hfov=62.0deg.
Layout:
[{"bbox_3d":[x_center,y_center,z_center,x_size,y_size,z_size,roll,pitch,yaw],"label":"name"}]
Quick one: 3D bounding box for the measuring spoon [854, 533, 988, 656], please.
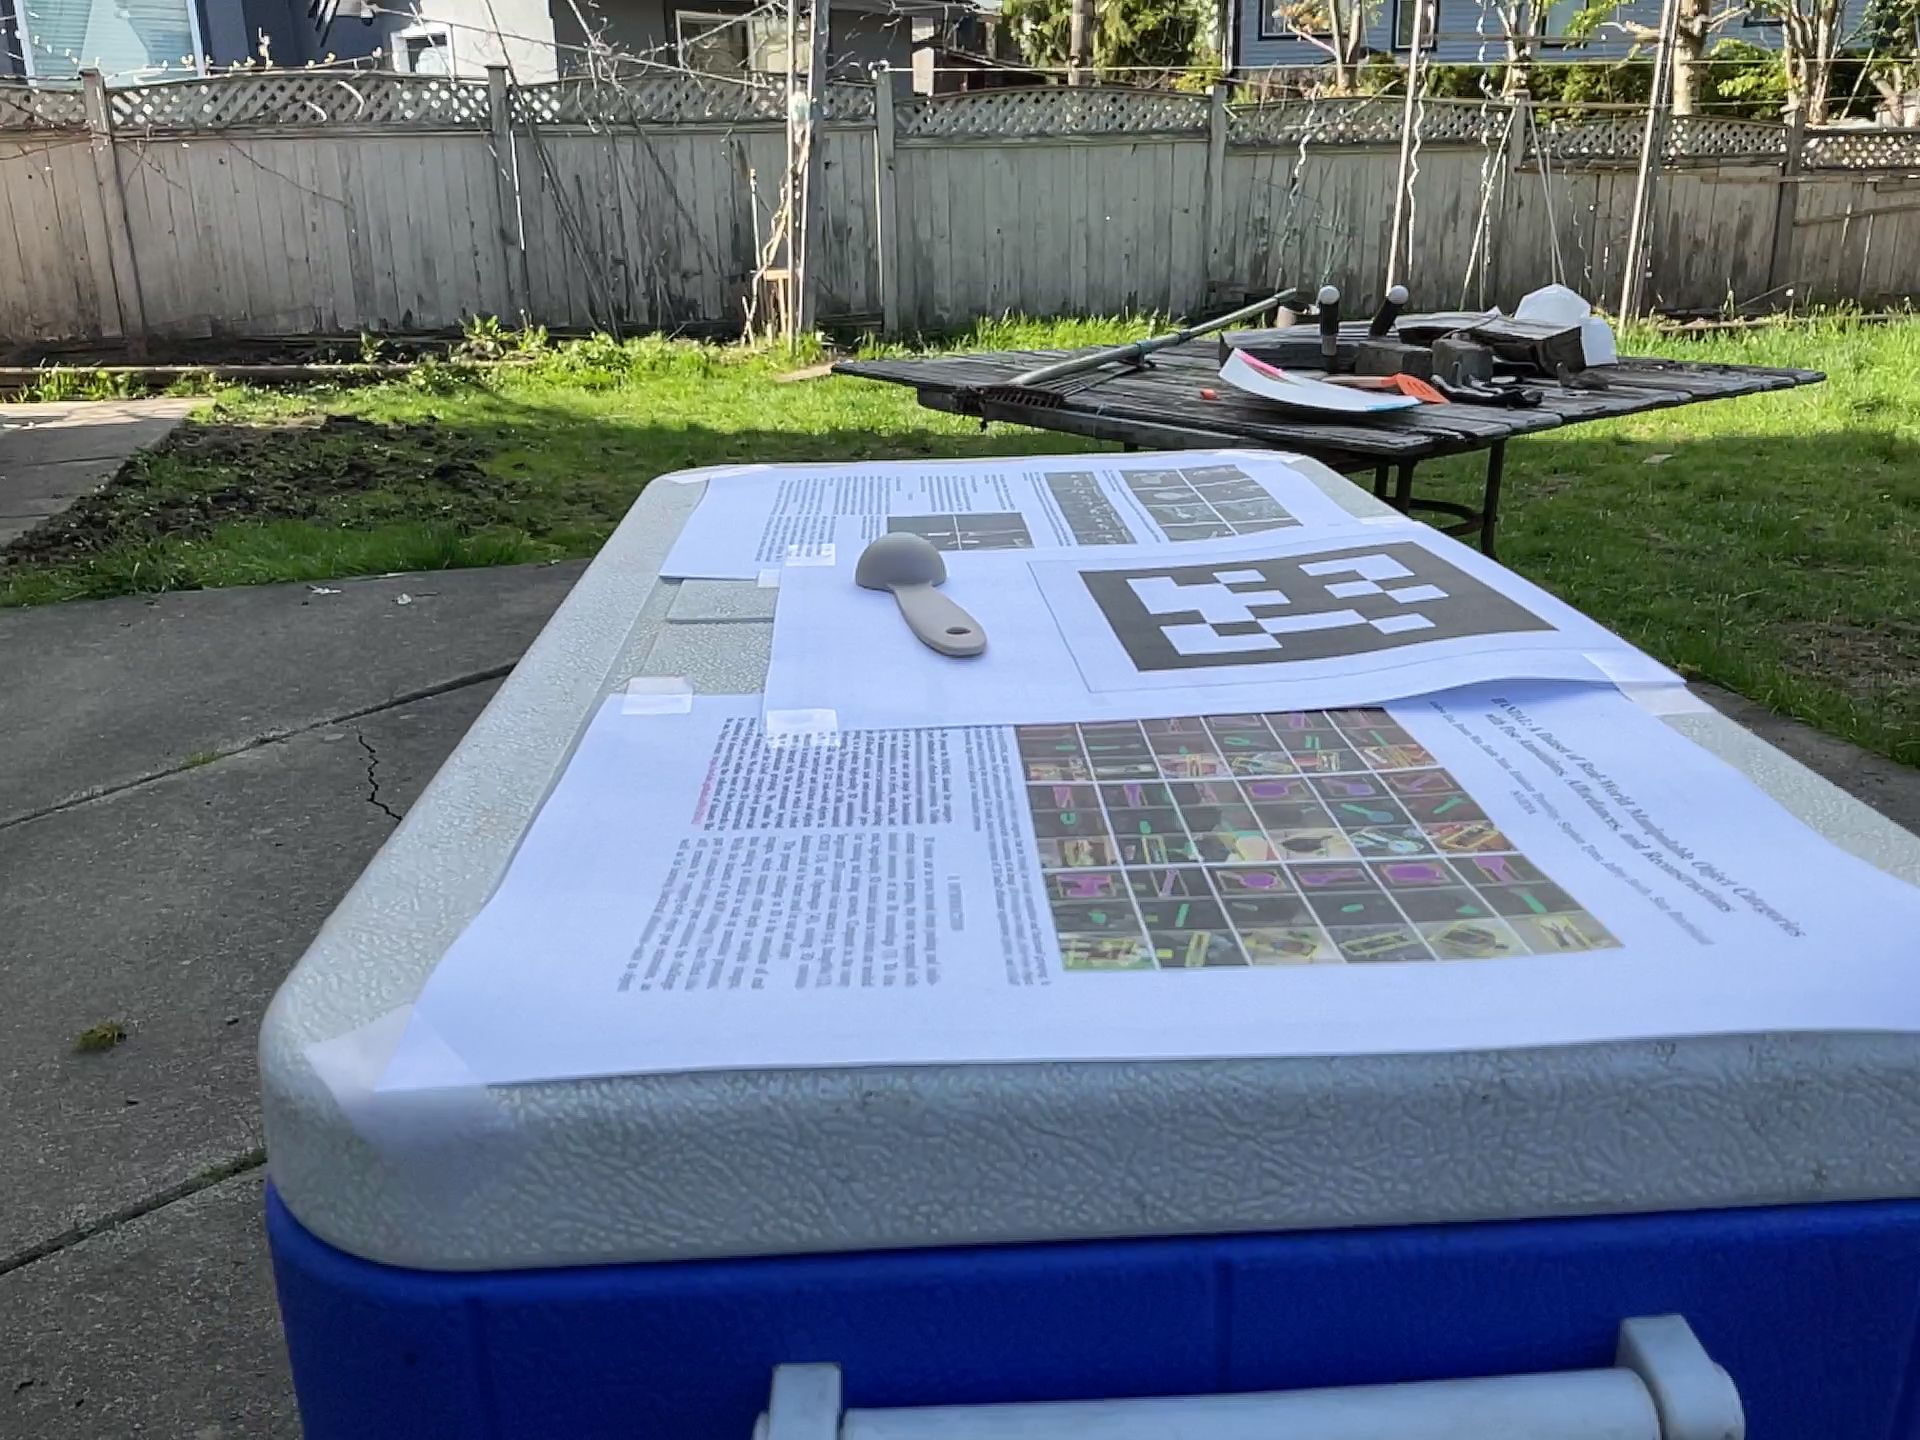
[{"bbox_3d":[-0.011,-0.045,0.539,0.034,0.018,0.124,-5,19,-12],"label":"measuring spoon"}]
